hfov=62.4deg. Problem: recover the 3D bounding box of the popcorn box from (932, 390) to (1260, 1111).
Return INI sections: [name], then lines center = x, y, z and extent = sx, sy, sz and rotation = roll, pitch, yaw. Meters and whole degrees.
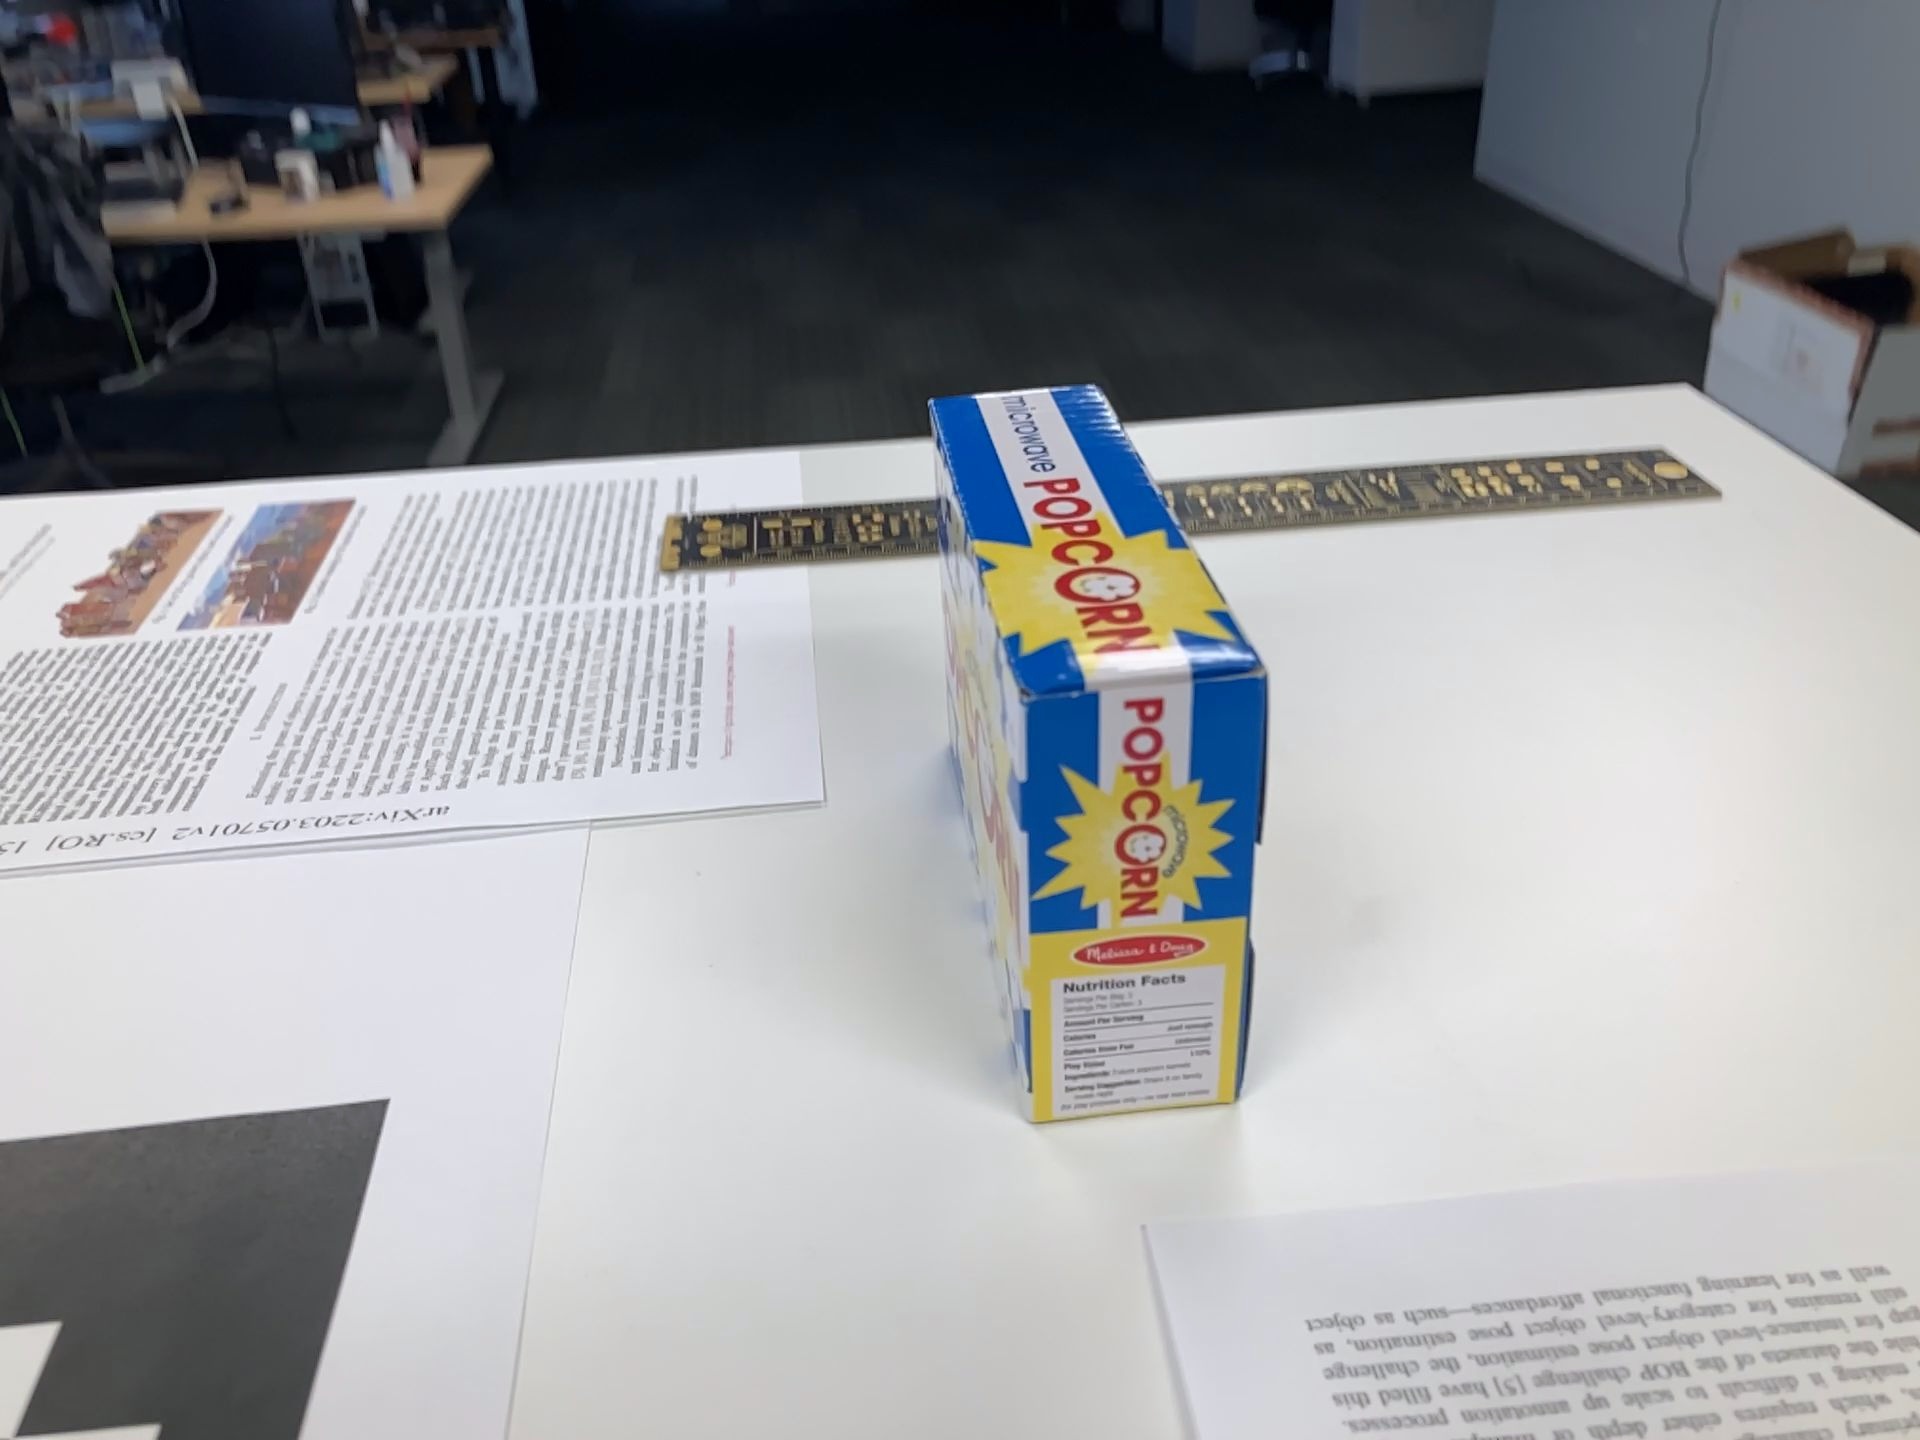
[popcorn box]
center = 0.020, -0.002, 0.301
extent = 0.038, 0.085, 0.126
rotation = -5, 31, -5
